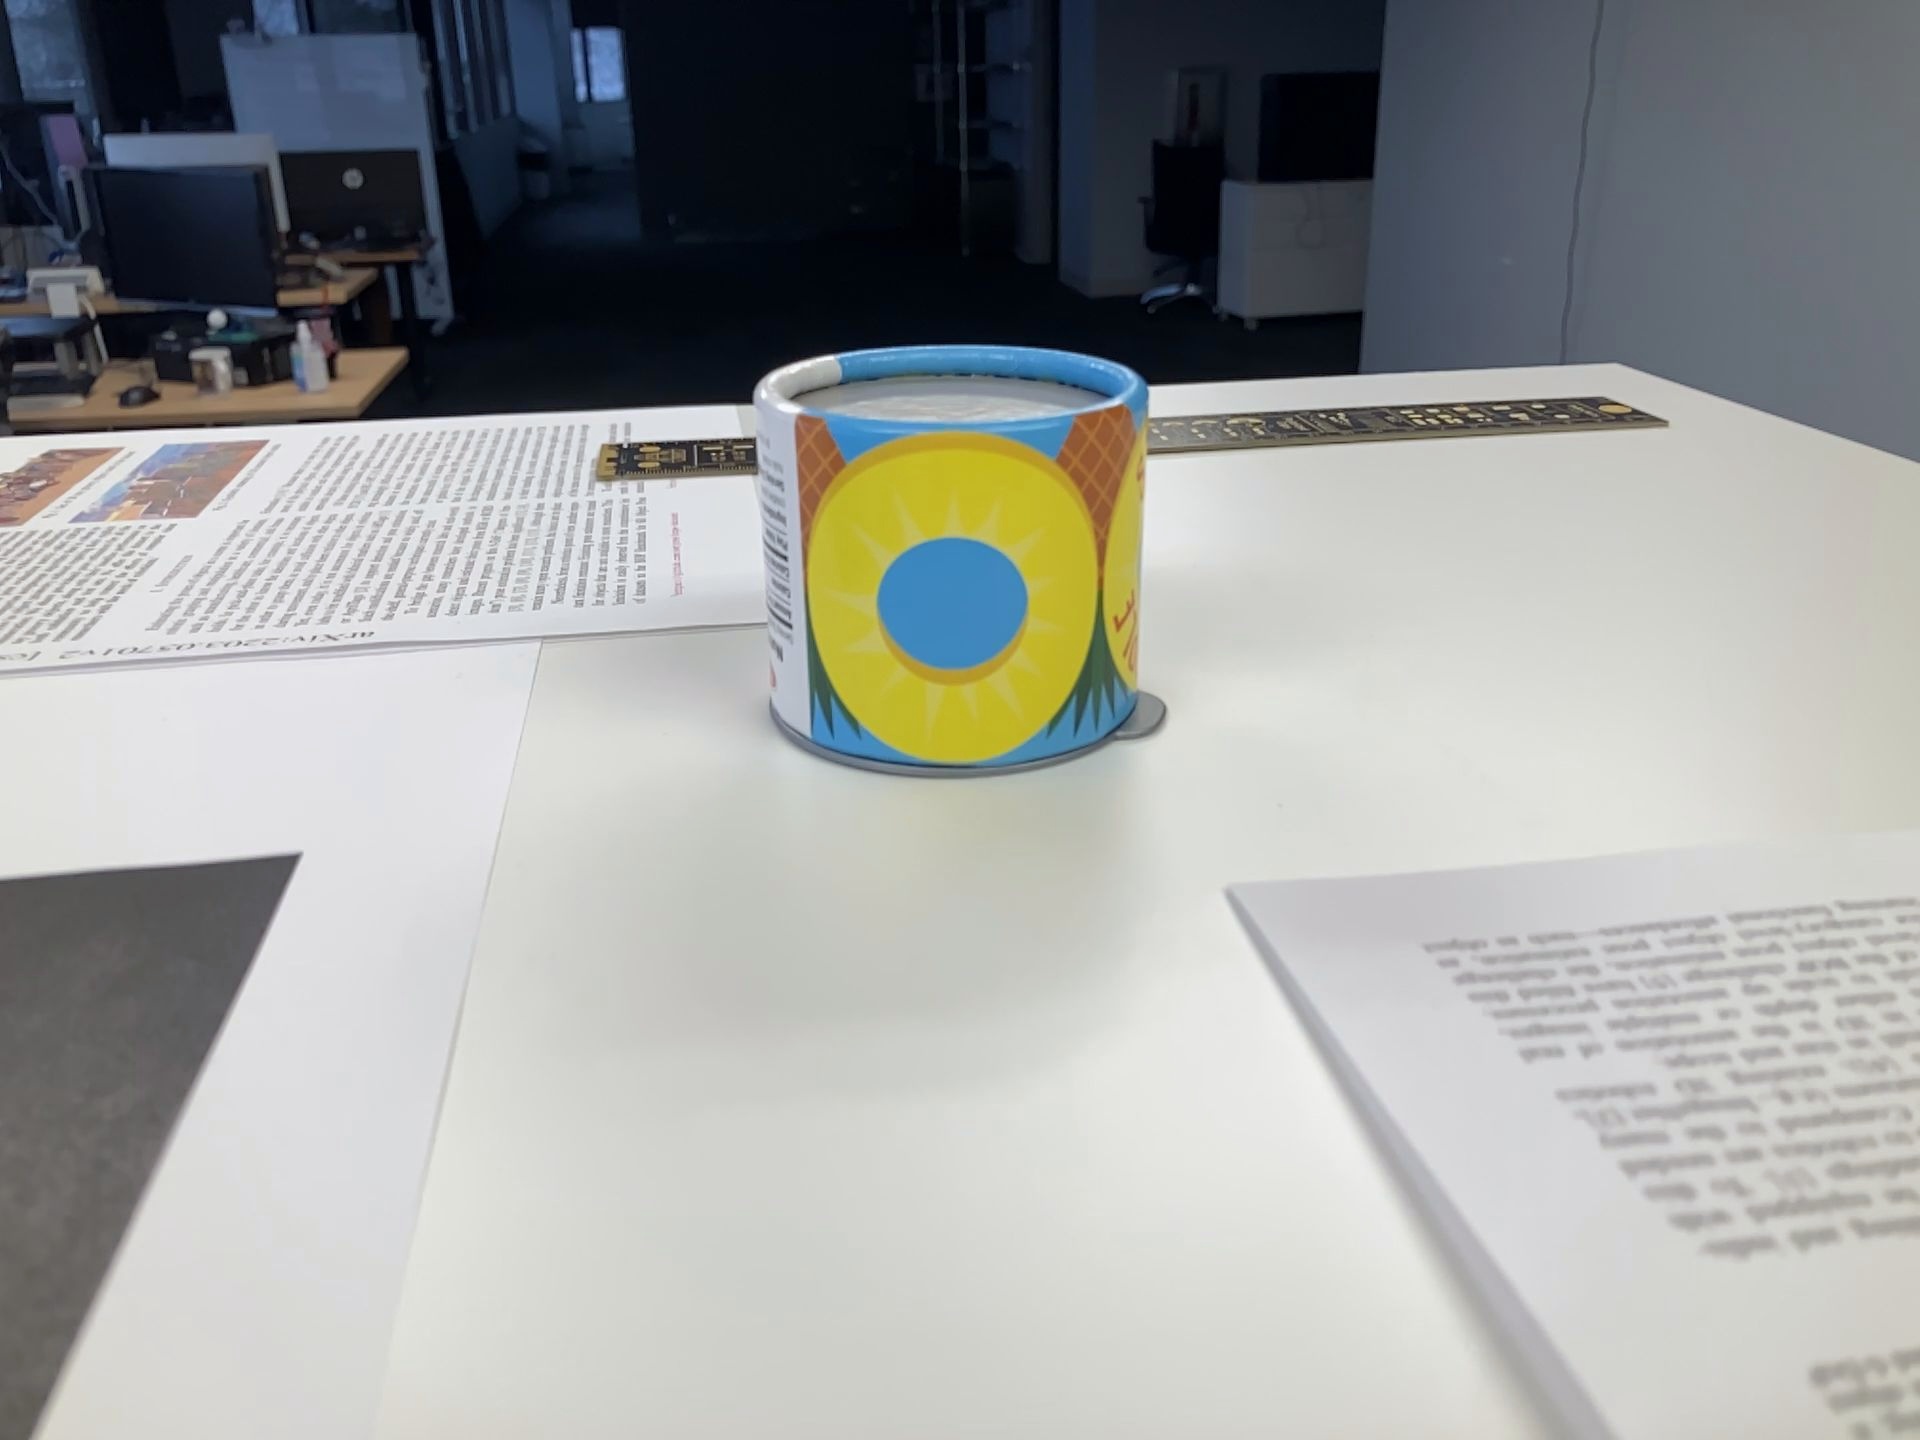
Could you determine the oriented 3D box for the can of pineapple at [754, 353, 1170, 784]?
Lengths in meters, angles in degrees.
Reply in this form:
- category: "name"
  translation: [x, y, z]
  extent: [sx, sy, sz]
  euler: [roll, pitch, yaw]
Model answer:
- category: "can of pineapple"
  translation: [0.001, -0.029, 0.273]
  extent: [0.071, 0.058, 0.071]
  euler: [-1, 23, 0]
